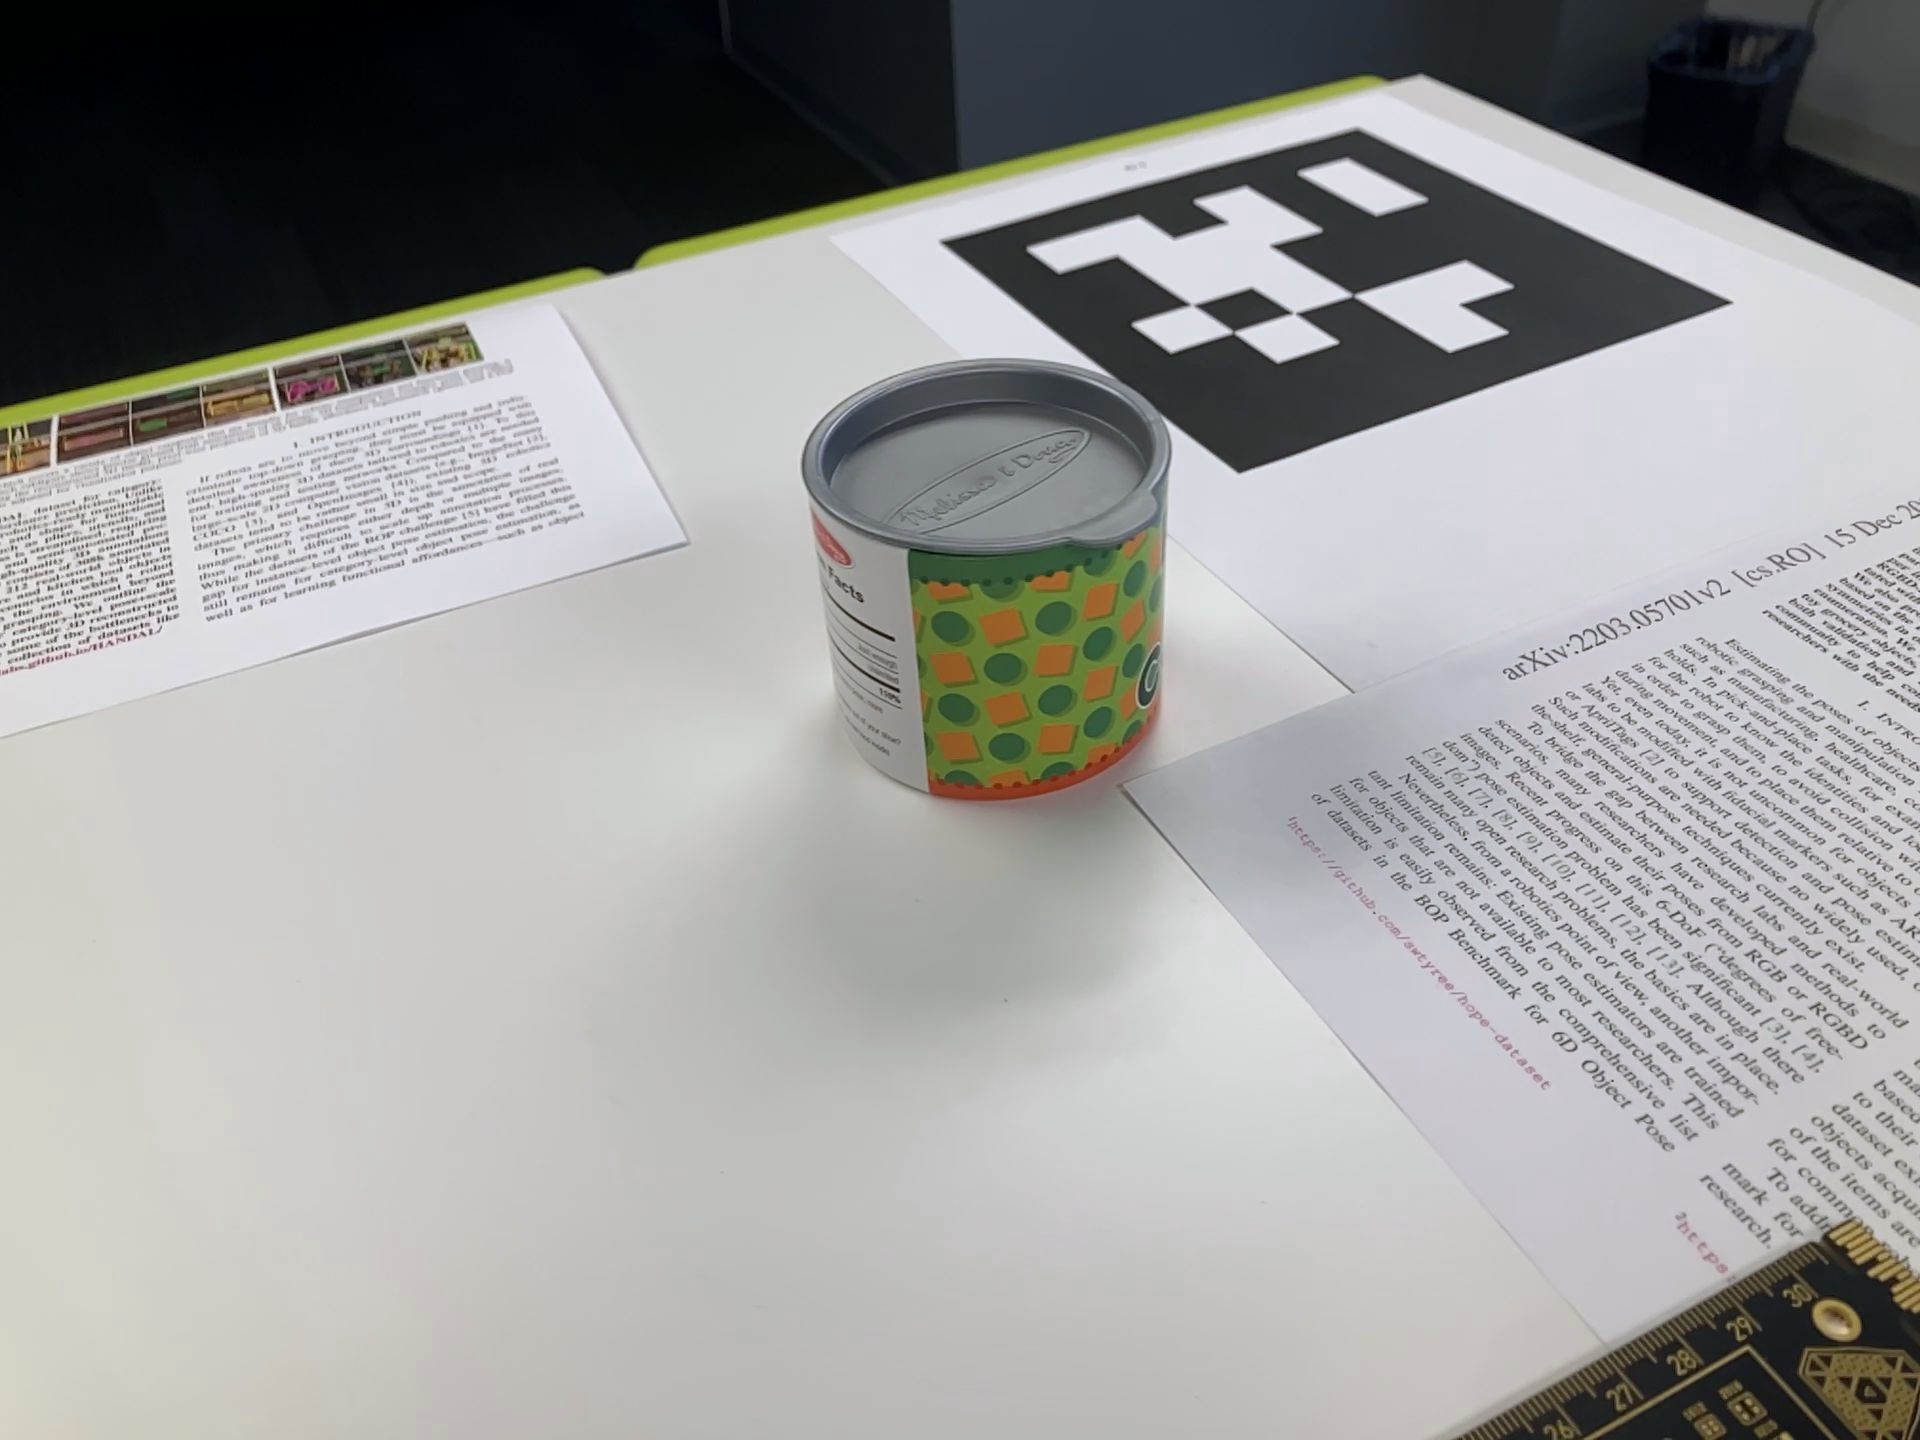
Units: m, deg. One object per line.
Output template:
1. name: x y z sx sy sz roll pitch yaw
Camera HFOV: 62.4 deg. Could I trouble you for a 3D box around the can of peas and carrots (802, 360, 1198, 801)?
1. can of peas and carrots: 0.009 -0.028 0.302 0.071 0.059 0.071 -3 40 2
